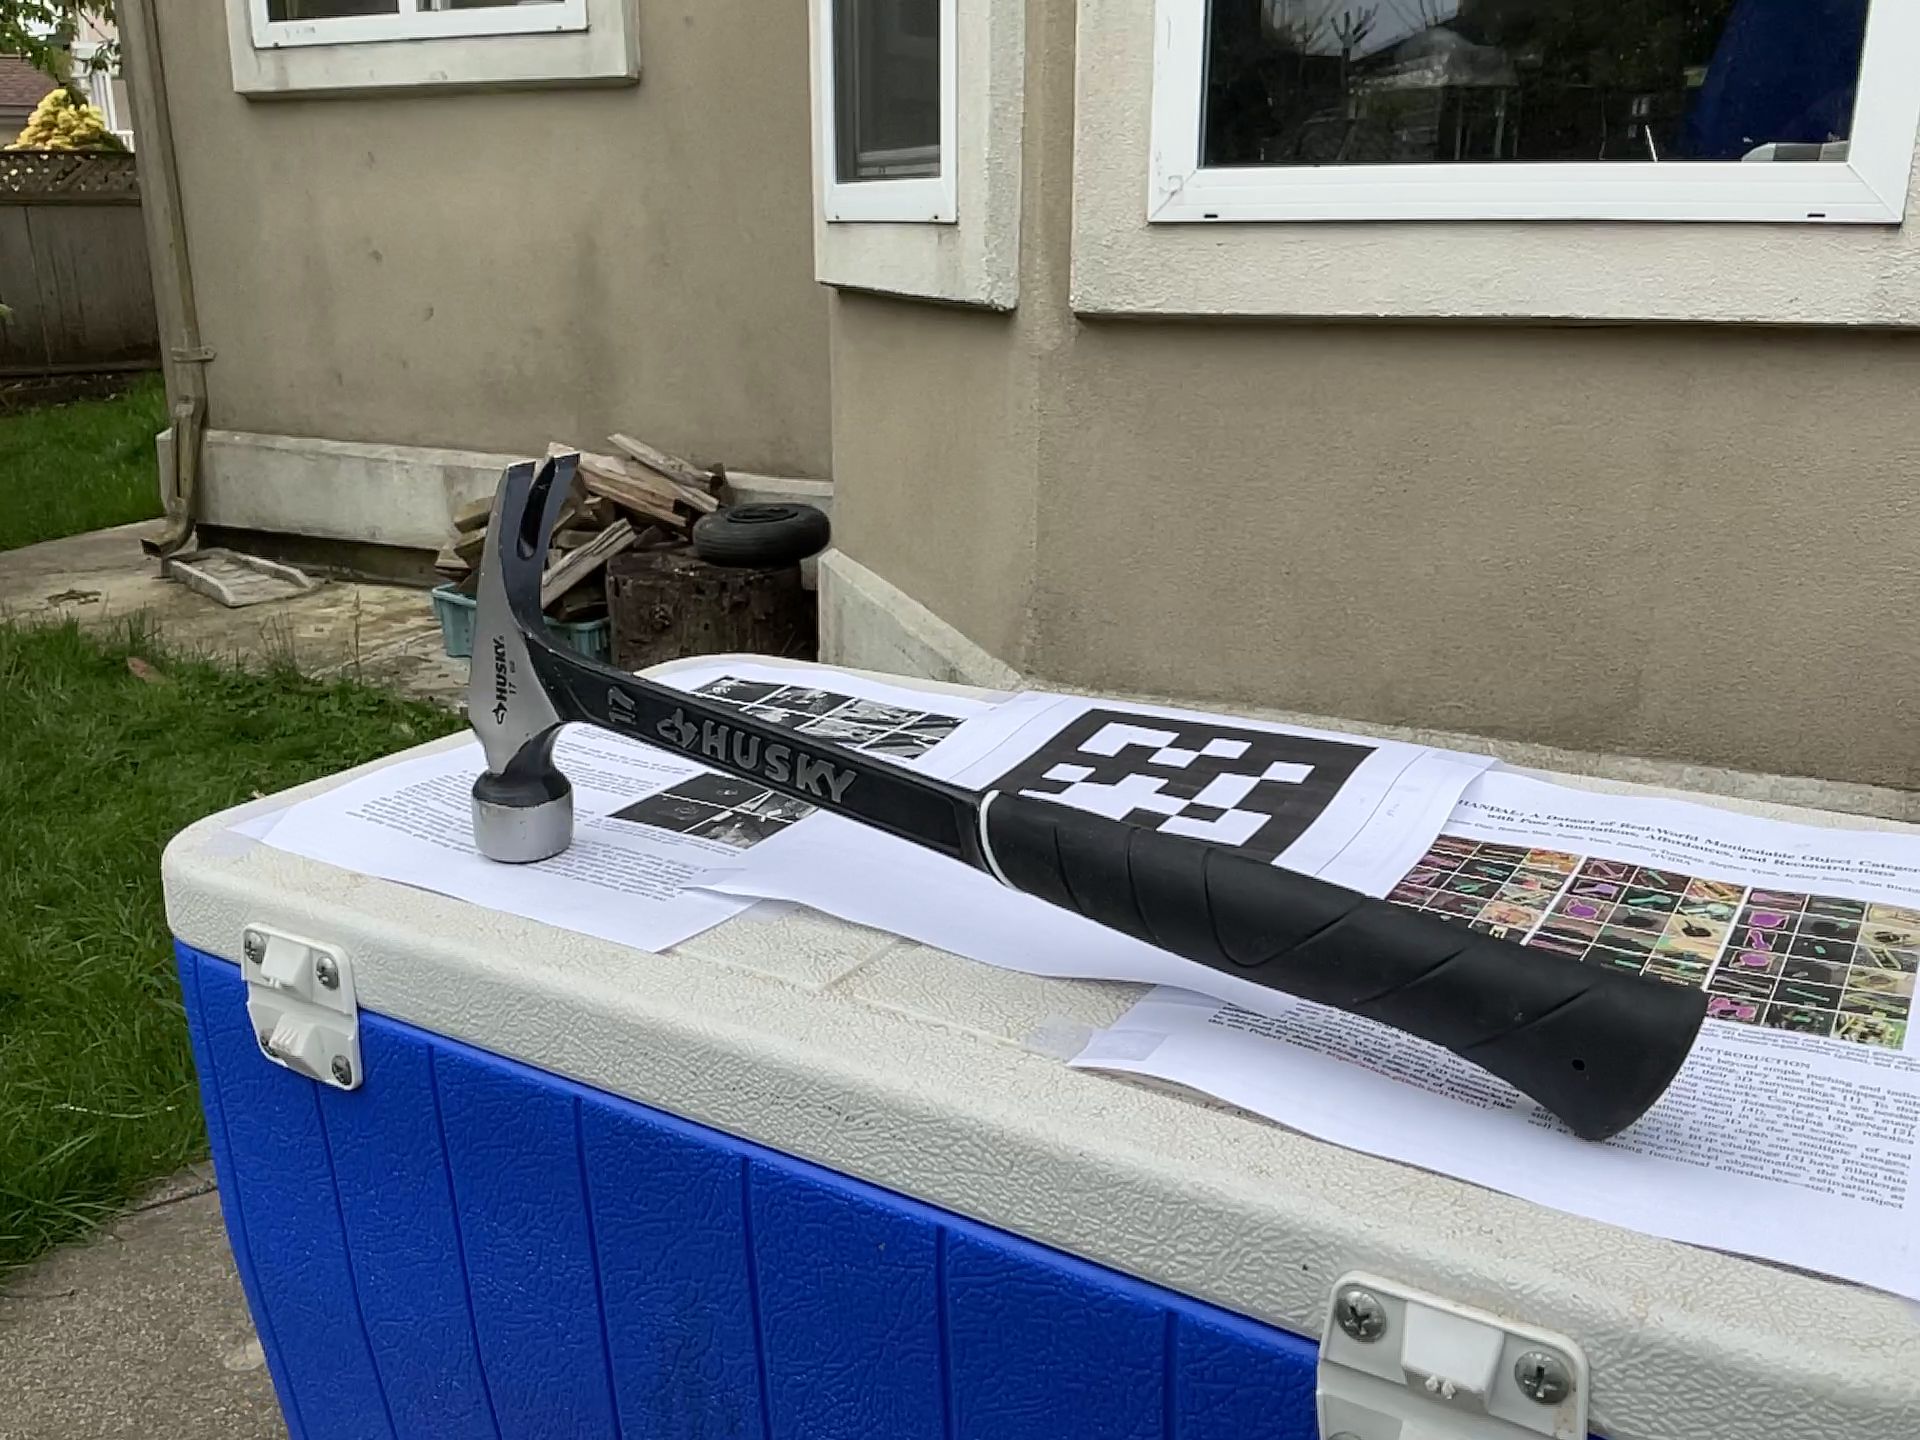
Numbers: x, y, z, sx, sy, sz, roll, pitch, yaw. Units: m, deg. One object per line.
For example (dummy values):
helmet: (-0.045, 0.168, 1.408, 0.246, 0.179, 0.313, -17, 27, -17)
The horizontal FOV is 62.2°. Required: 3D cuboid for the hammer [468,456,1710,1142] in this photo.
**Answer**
hammer: (0.000, 0.026, 0.470, 0.409, 0.149, 0.036, 17, 25, 29)
